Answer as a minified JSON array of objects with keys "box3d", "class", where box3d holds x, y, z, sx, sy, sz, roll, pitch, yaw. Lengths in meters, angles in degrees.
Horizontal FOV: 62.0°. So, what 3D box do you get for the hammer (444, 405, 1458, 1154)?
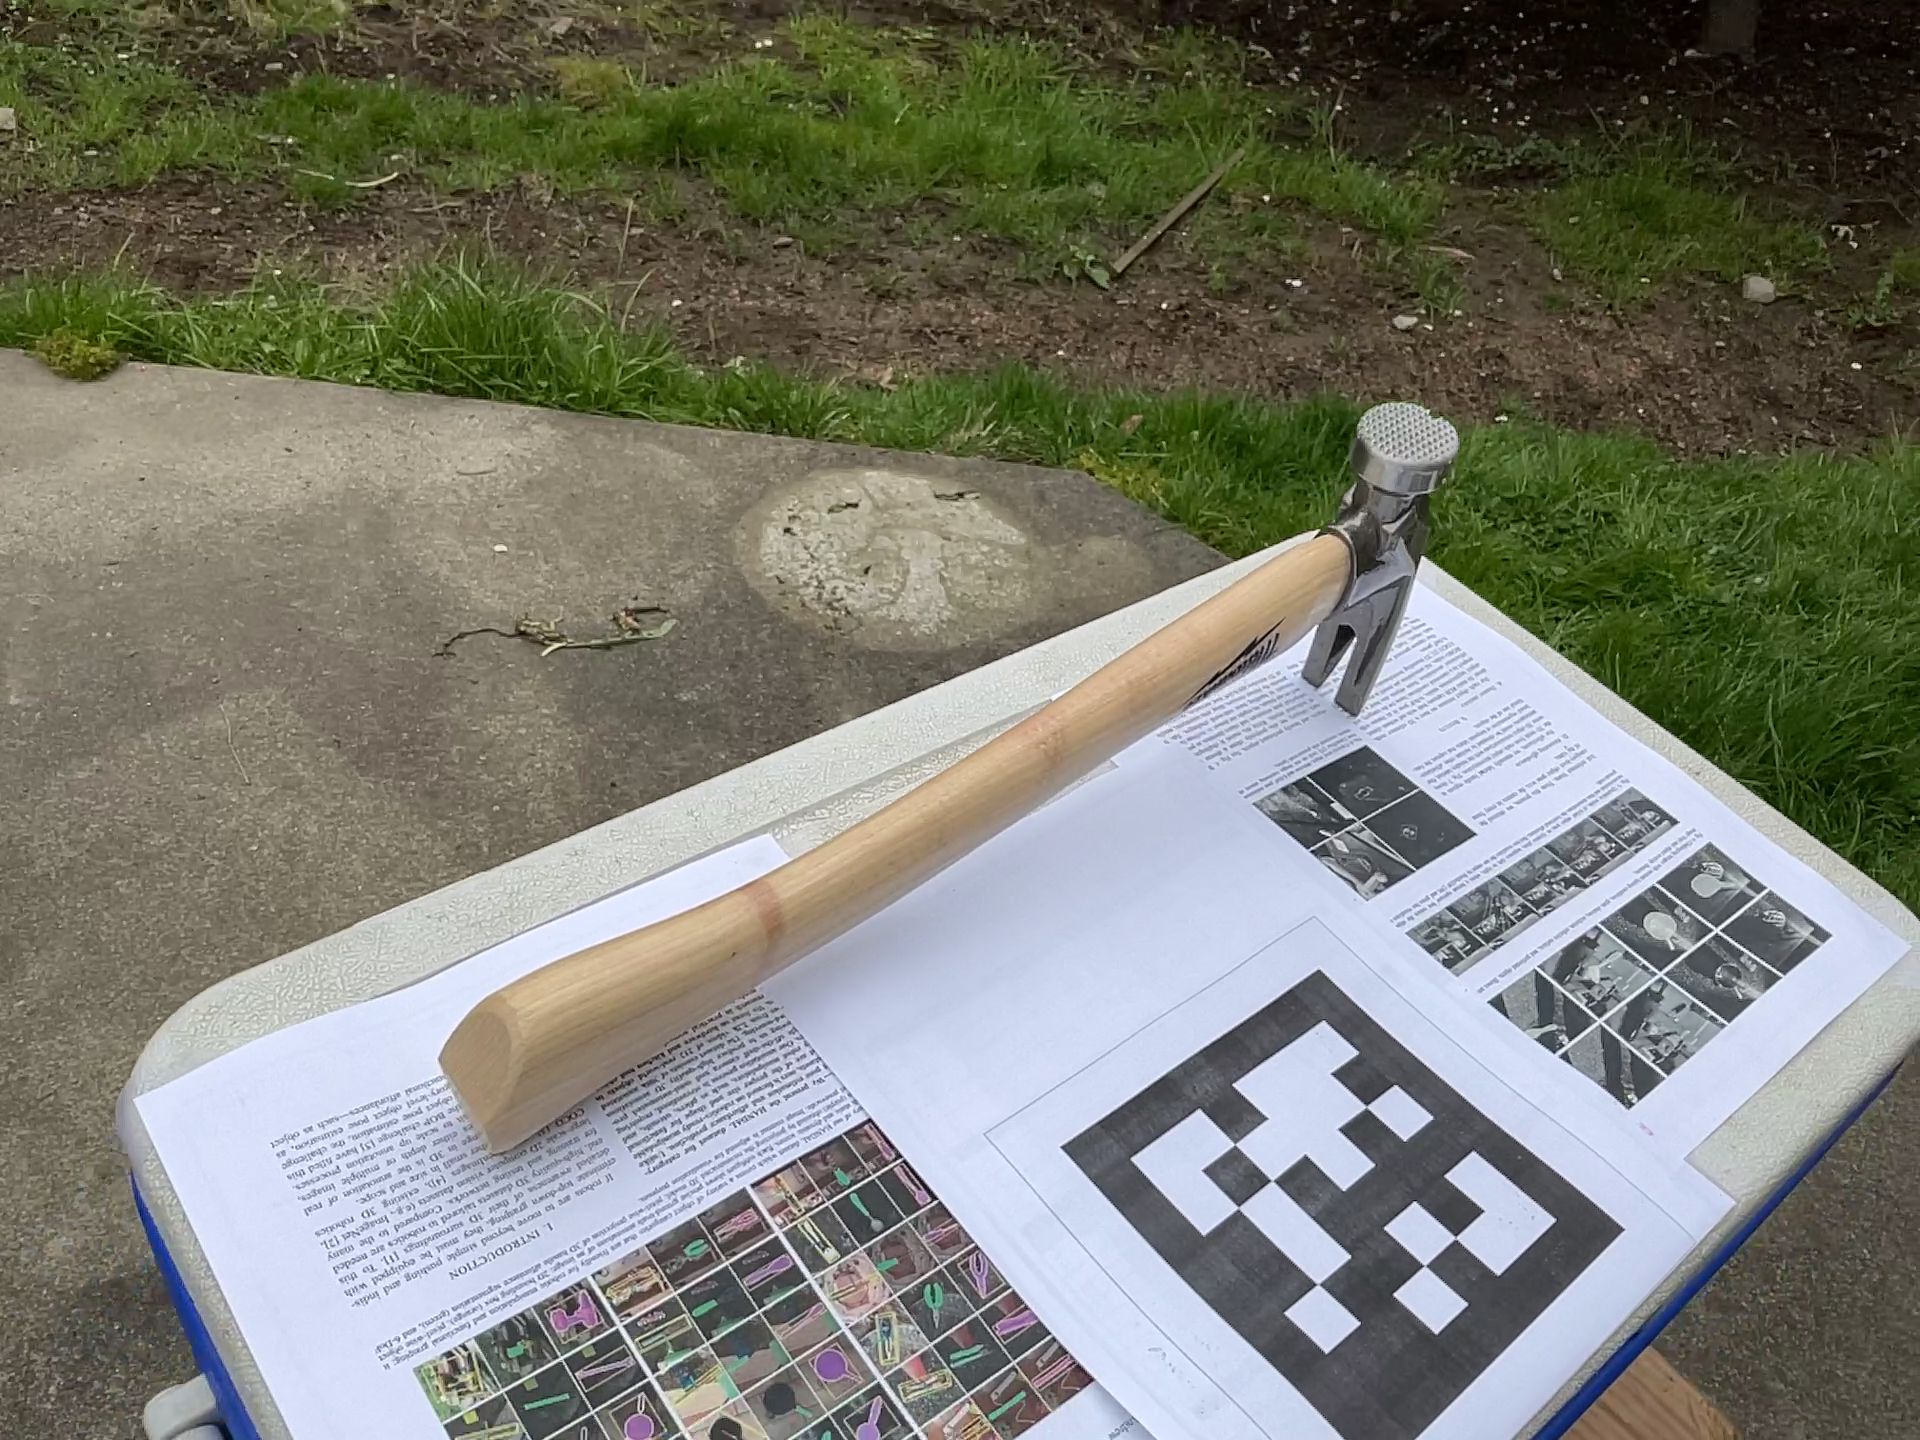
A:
[{"box3d":[0.018,0.027,0.561,0.410,0.146,0.038,-30,56,-26],"class":"hammer"}]
